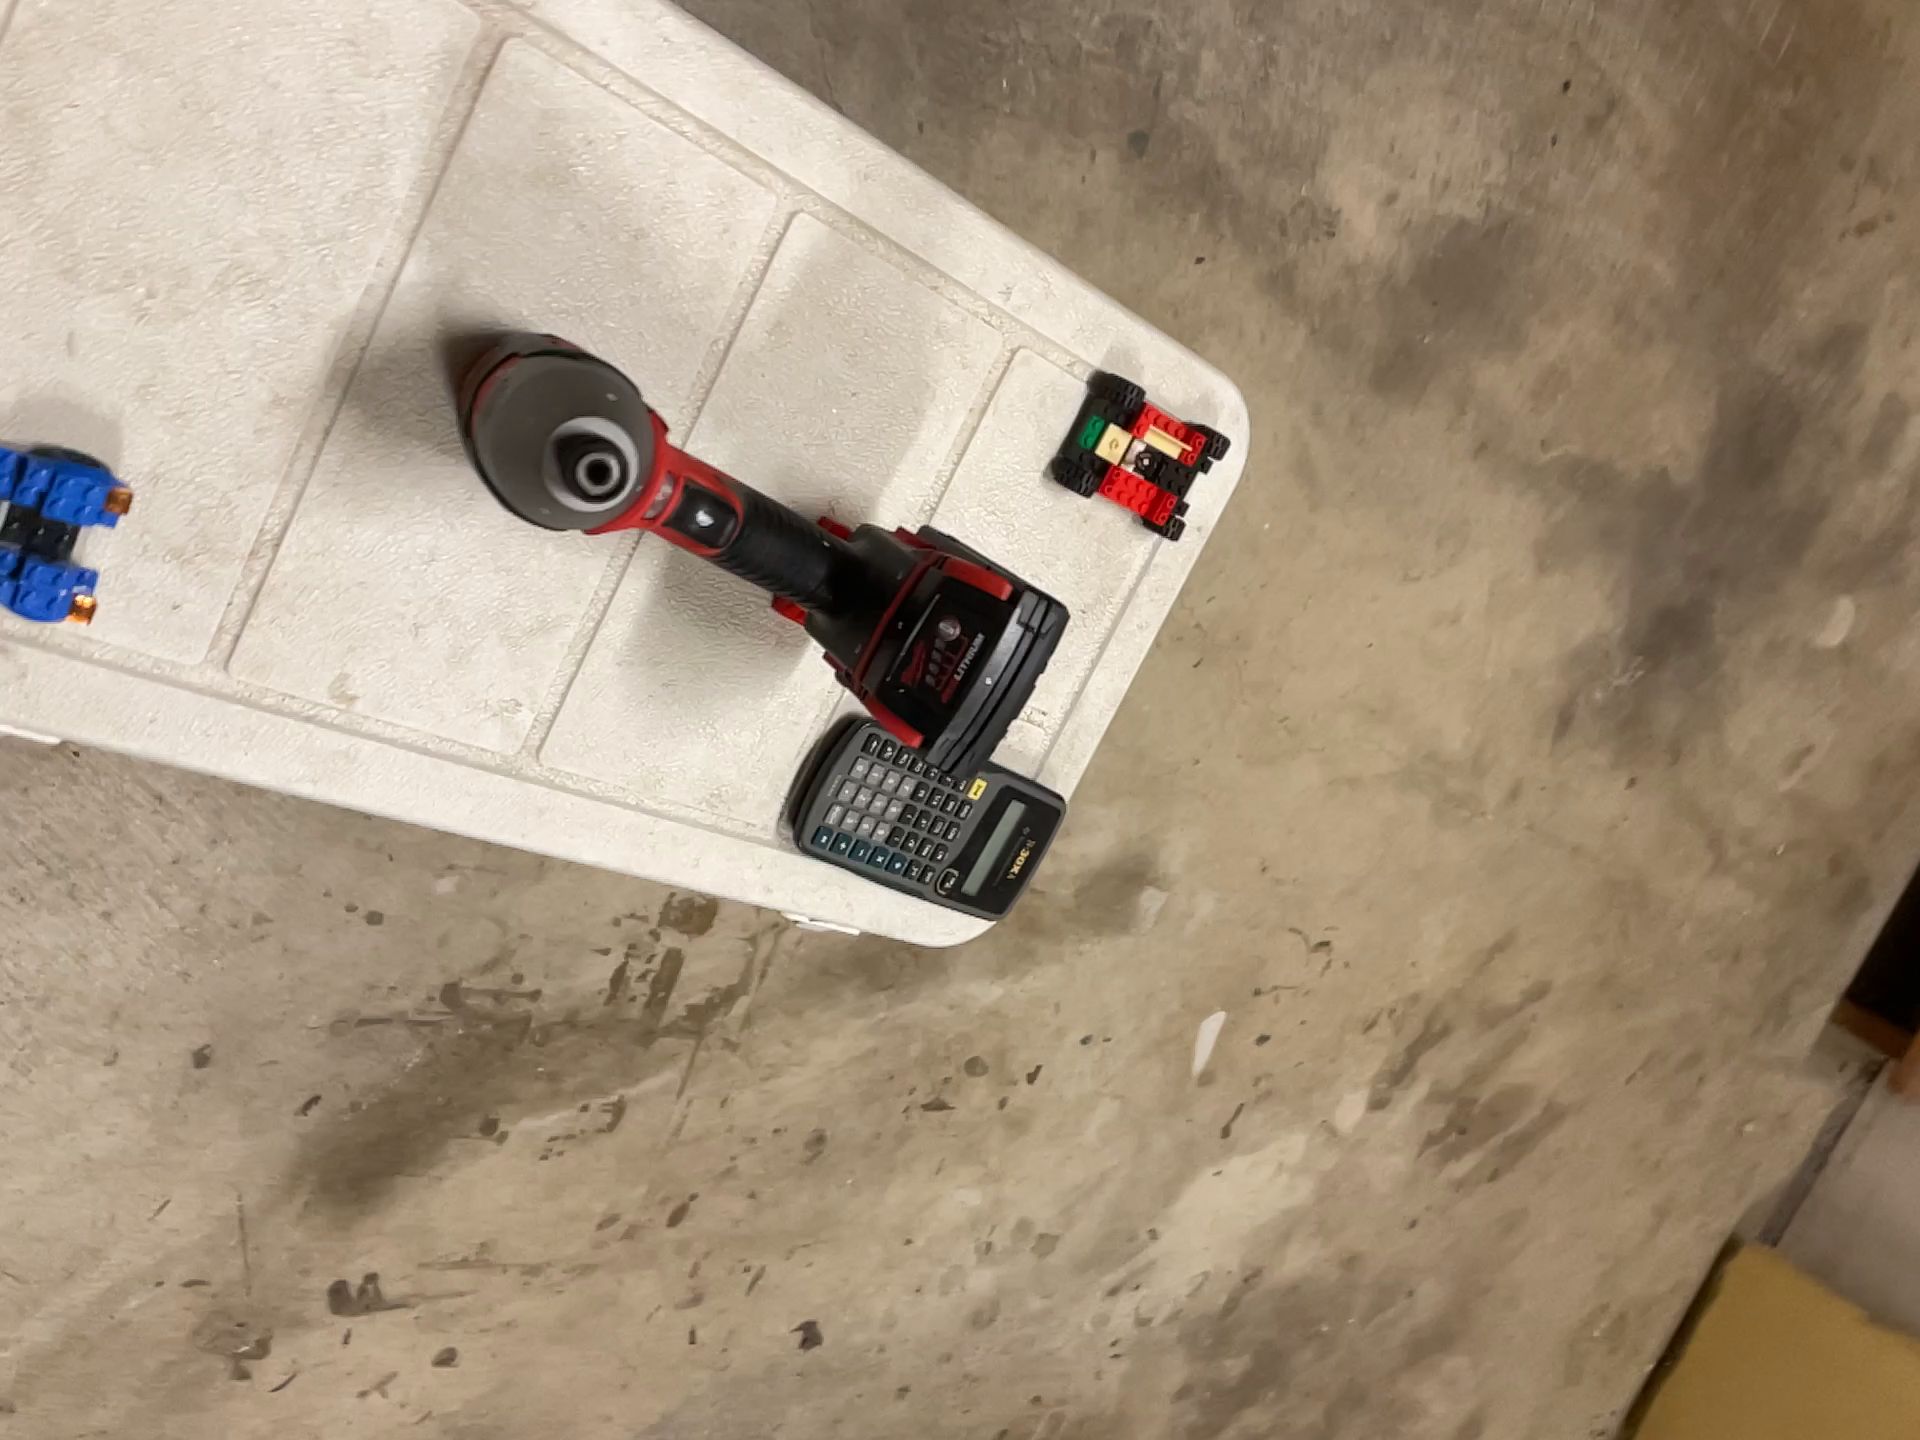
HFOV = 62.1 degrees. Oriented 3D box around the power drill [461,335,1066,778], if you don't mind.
[{"bbox_3d":[-0.077,-0.066,0.597,0.219,0.143,0.078,28,96,-28],"label":"power drill"}]
